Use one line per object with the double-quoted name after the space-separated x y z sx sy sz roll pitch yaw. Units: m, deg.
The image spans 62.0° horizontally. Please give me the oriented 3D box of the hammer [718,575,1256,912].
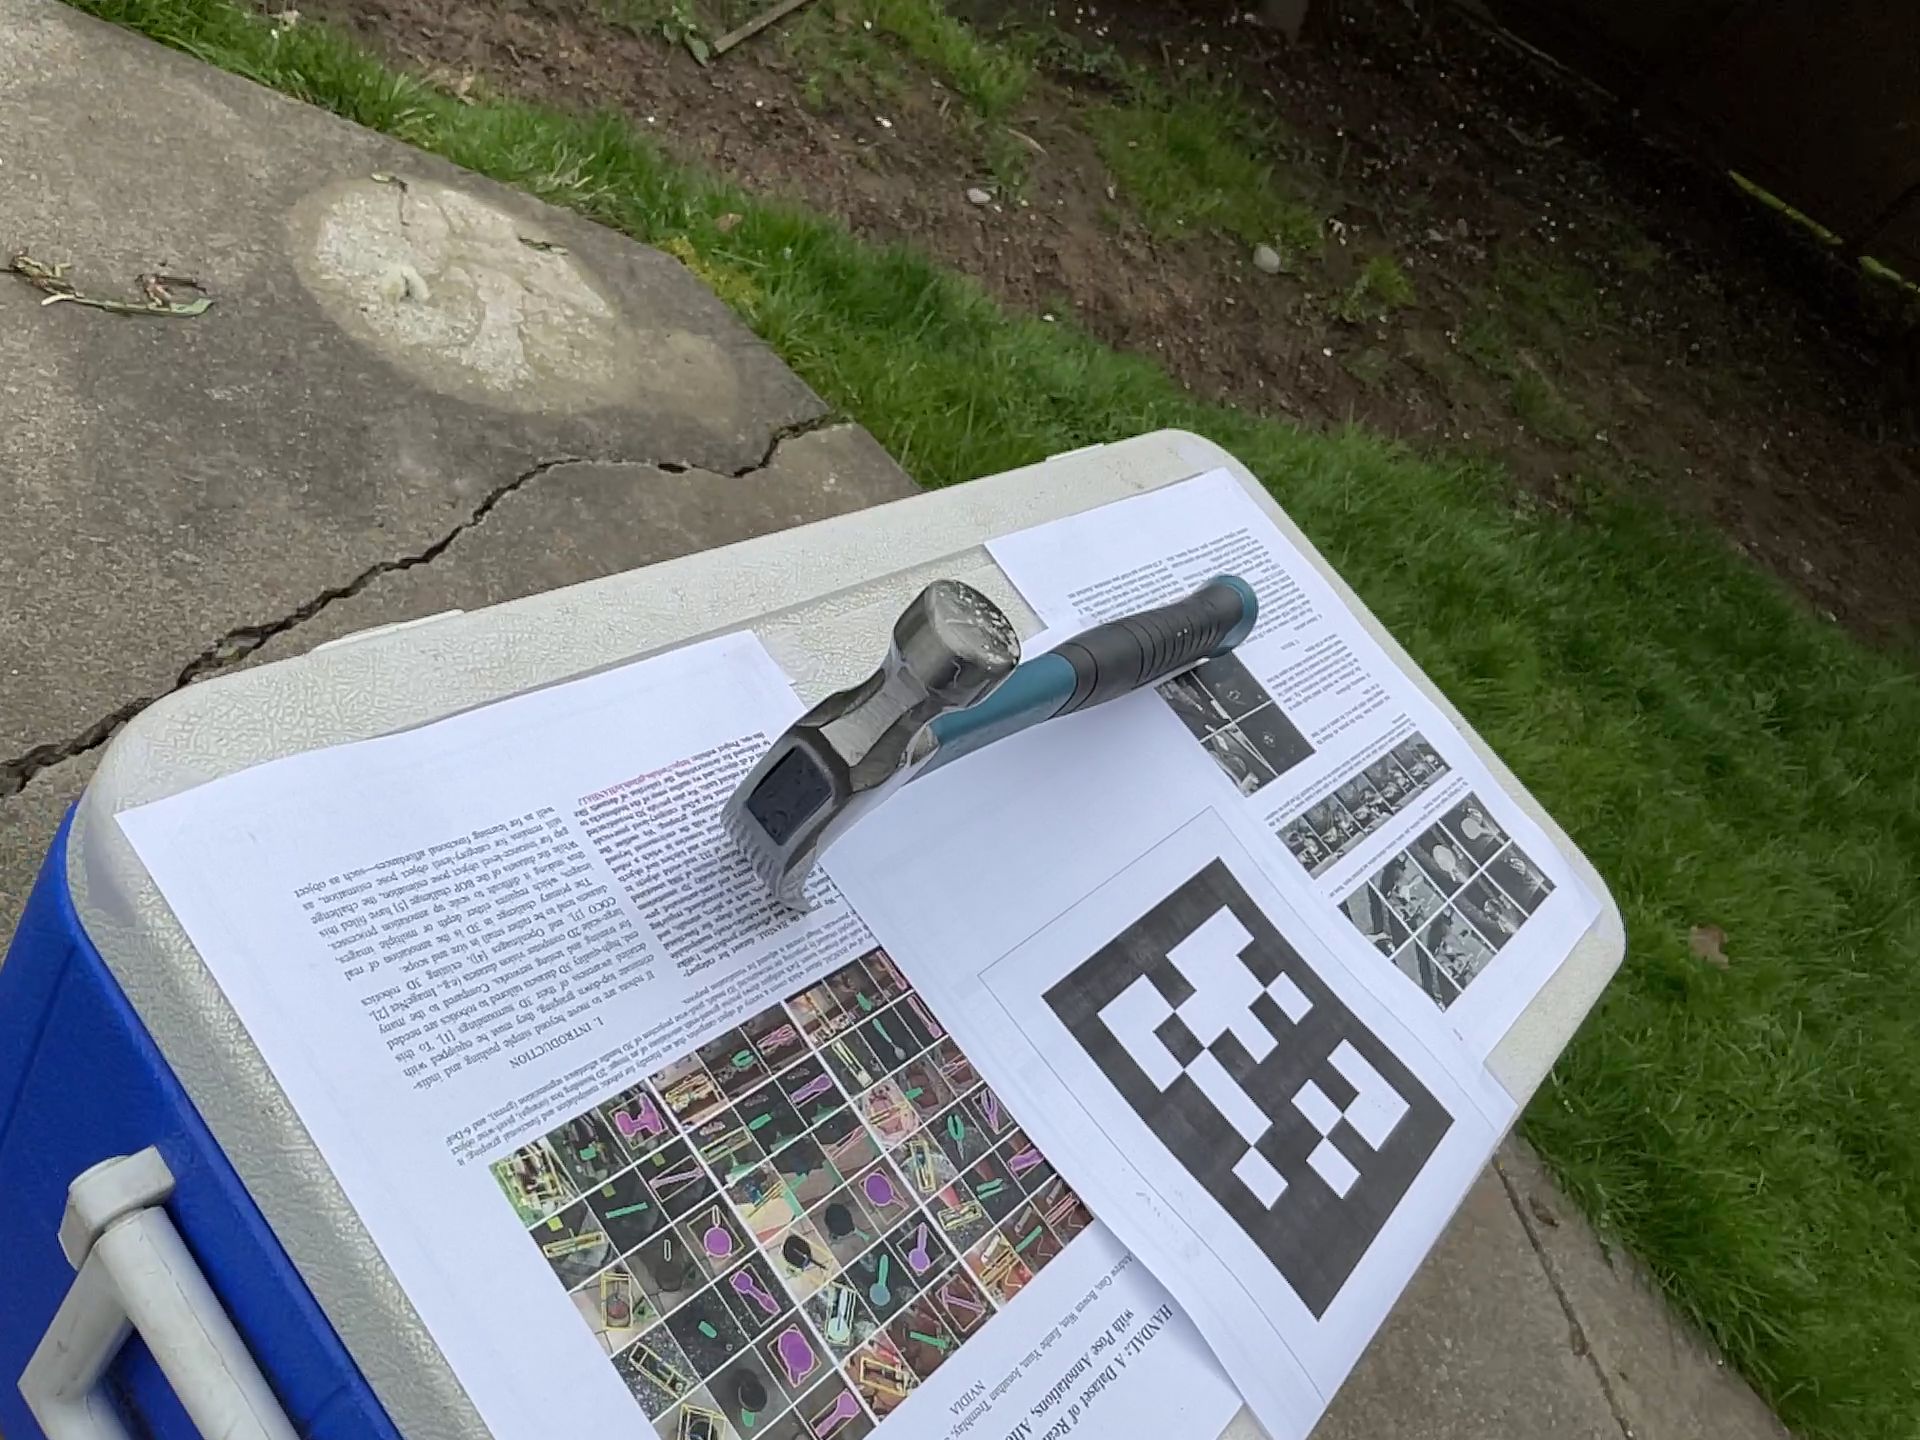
0.034 -0.013 0.543 0.033 0.128 0.331 52 29 9 "hammer"
